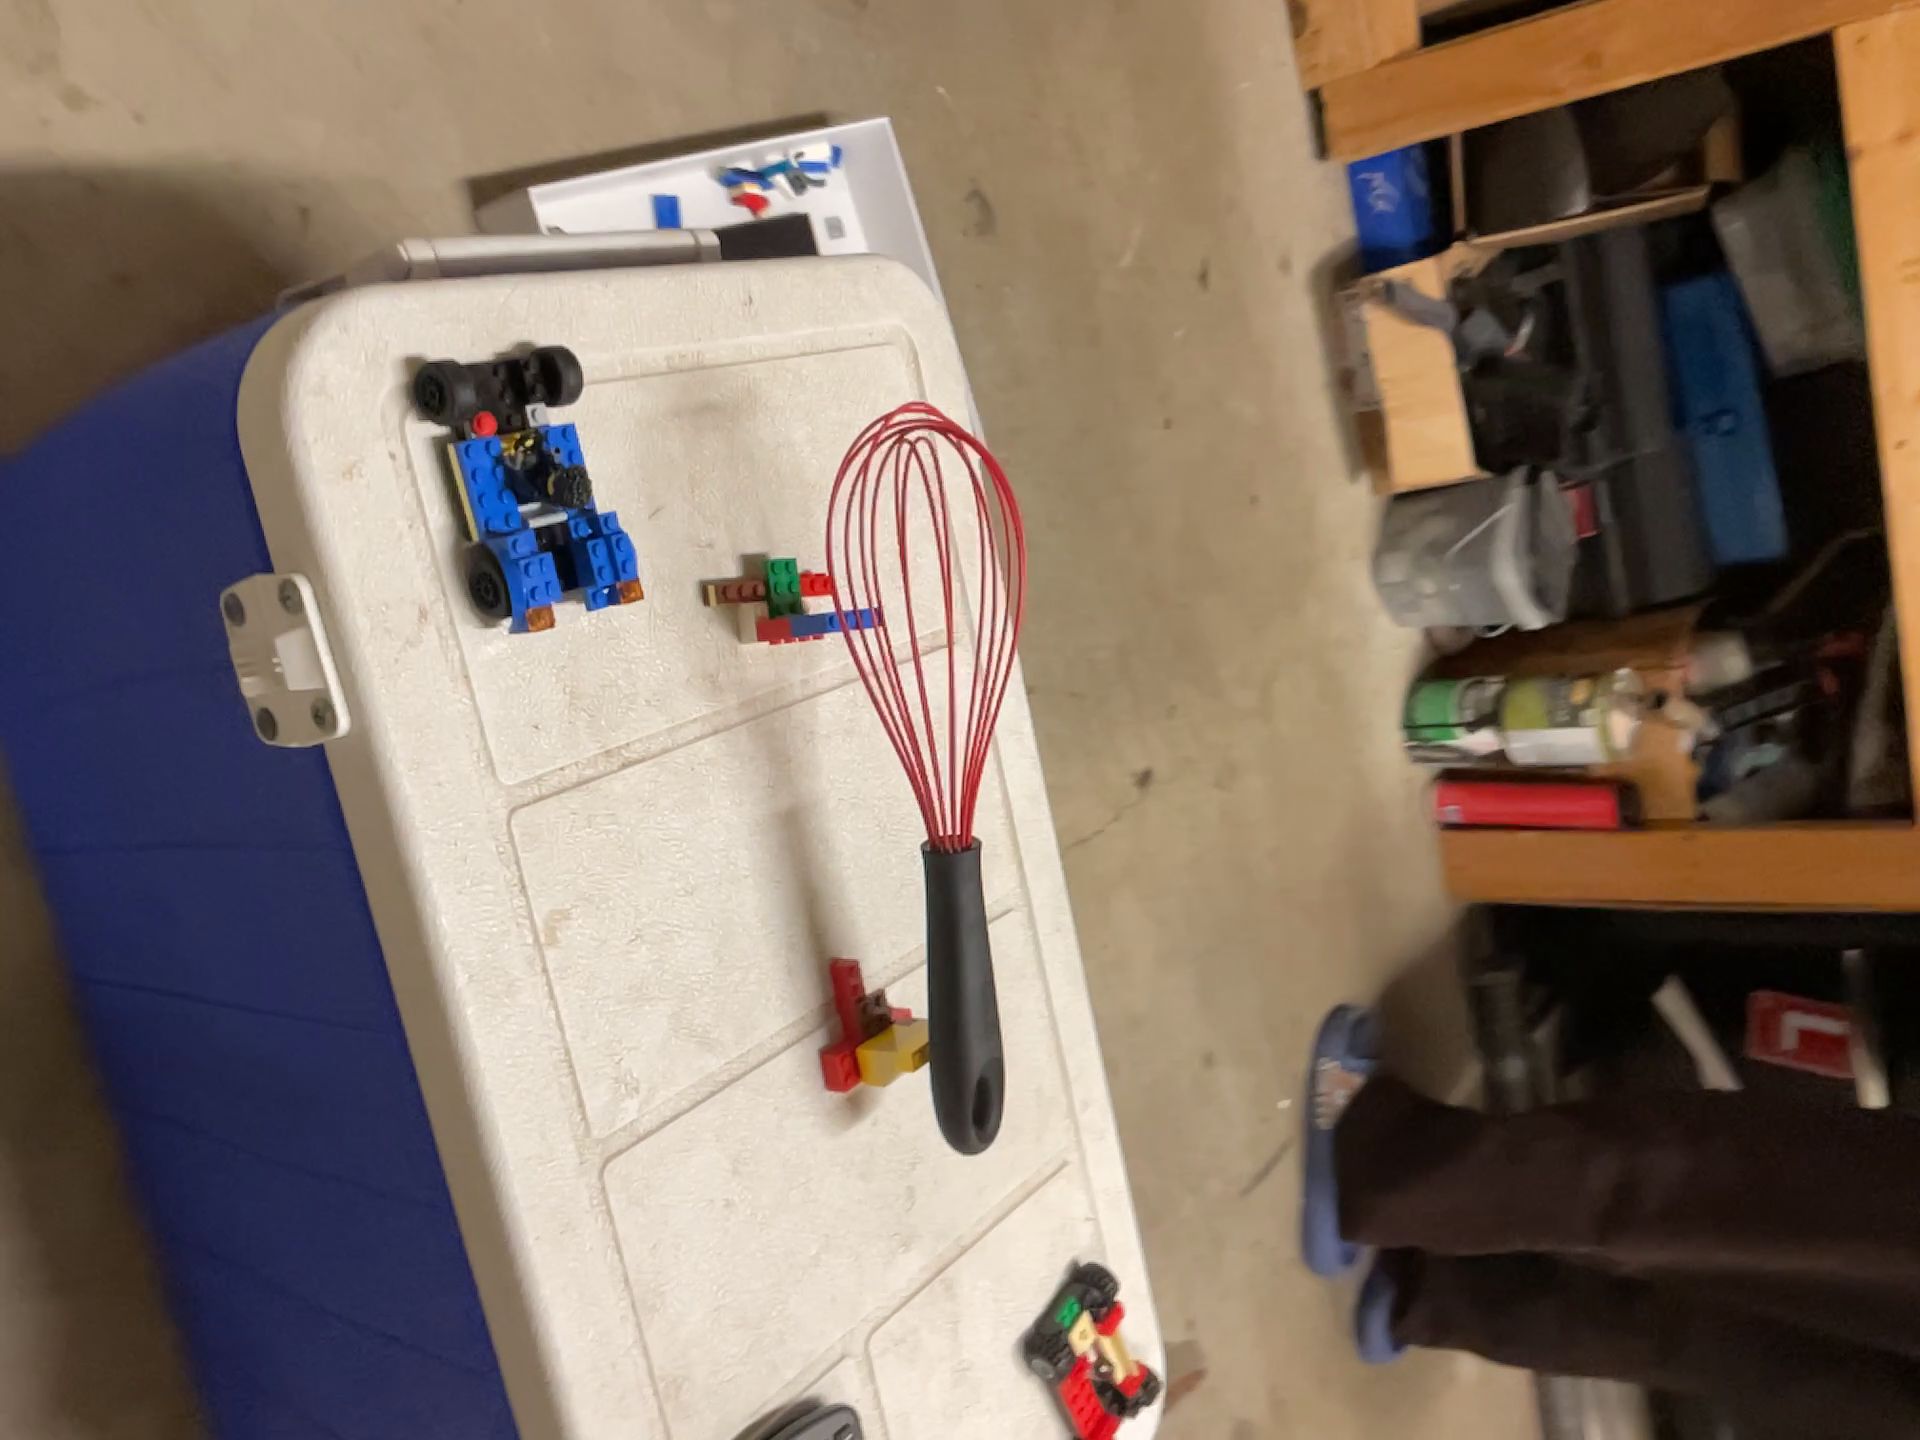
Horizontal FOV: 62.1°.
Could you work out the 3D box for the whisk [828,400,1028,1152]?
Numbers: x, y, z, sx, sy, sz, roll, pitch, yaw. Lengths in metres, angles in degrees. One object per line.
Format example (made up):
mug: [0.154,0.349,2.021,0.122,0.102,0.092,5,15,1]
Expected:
whisk: [-0.005,0.029,0.606,0.073,0.073,0.295,-22,113,-53]
